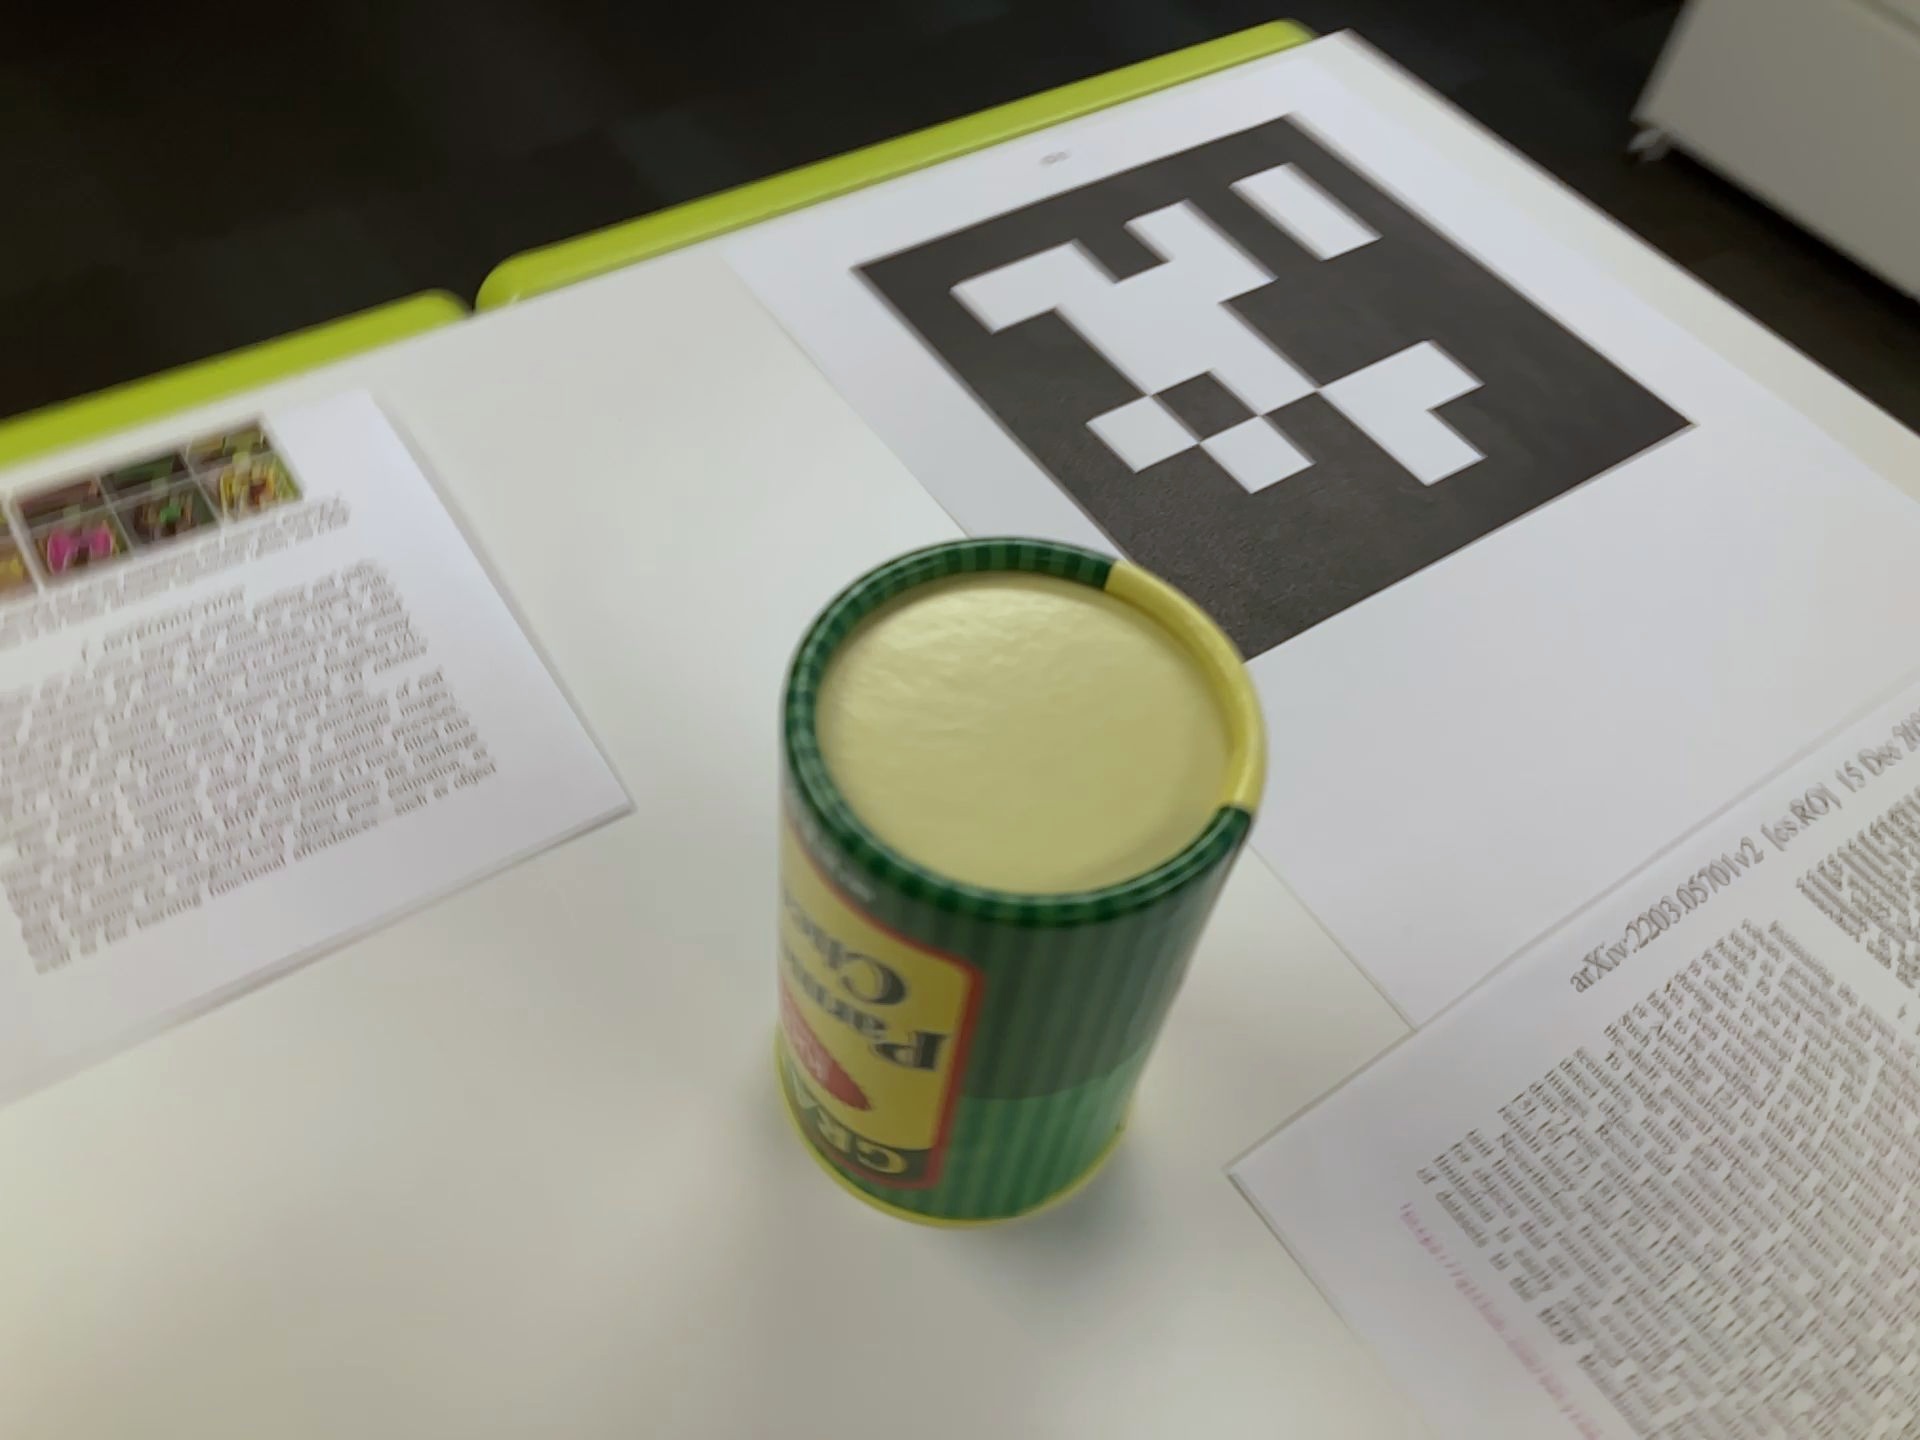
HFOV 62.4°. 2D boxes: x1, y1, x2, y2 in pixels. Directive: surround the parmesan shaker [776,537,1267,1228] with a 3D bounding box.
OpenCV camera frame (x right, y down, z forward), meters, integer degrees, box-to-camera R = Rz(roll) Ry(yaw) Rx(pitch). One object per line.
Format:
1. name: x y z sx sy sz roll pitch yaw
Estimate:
1. parmesan shaker: 0.003 0.027 0.251 0.071 0.103 0.071 3 52 -4
